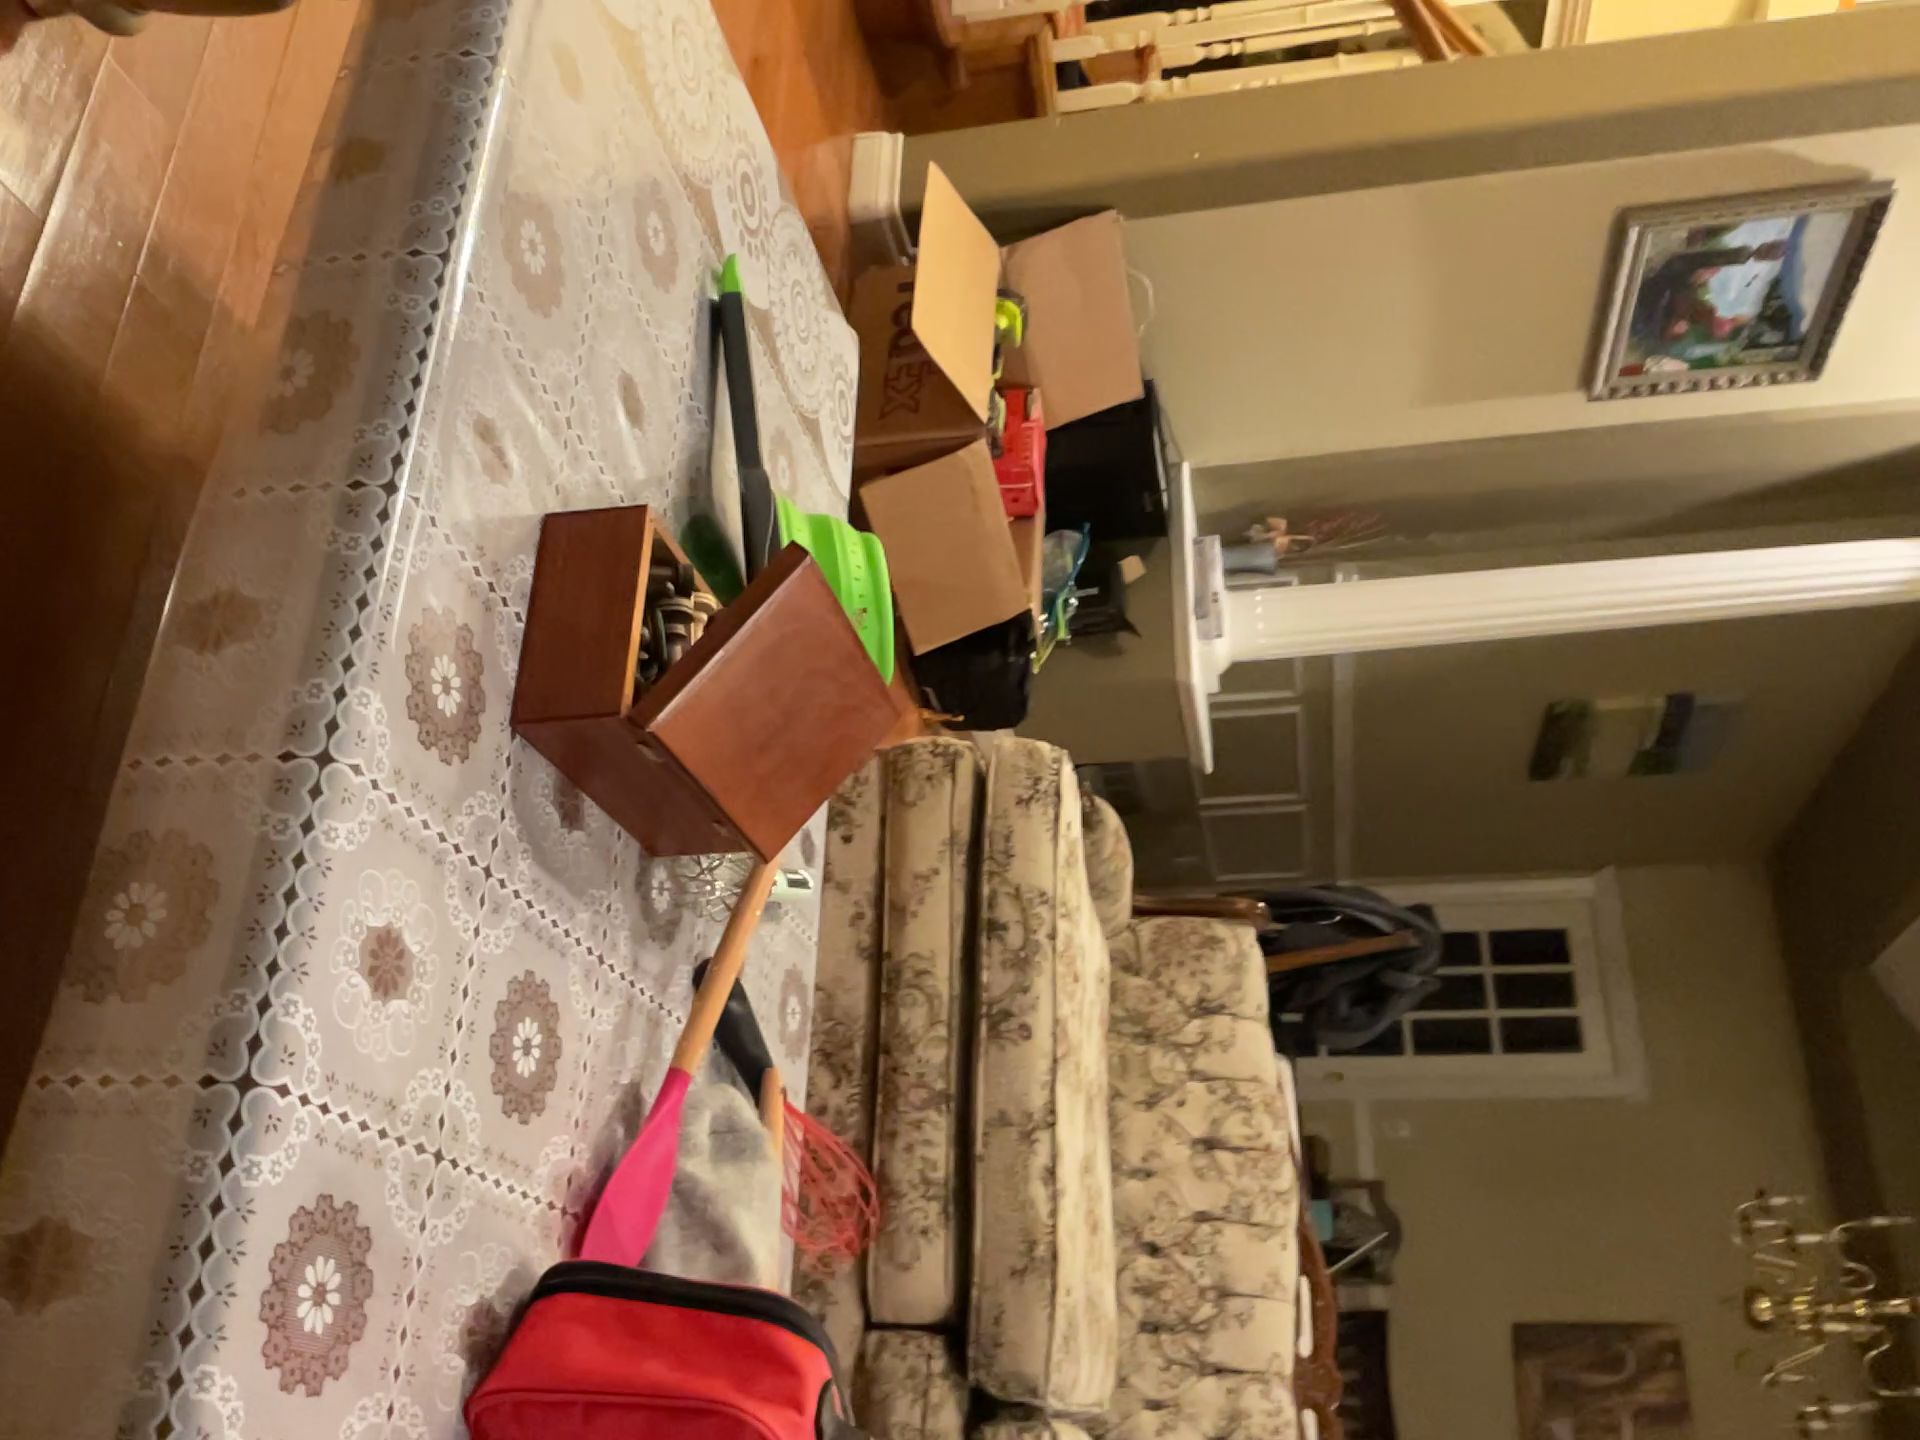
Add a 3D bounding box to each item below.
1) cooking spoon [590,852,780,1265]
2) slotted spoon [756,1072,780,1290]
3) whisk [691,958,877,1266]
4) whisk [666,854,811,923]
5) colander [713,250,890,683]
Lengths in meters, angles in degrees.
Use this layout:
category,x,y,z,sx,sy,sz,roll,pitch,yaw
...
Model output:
category,x,y,z,sx,sy,sz,roll,pitch,yaw
cooking spoon,-0.154,0.185,0.928,0.068,0.017,0.319,74,28,-50
slotted spoon,-0.128,0.389,1.036,0.070,0.031,0.314,32,58,-75
whisk,-0.122,0.274,1.096,0.073,0.073,0.295,-69,146,-50
whisk,-0.145,0.112,1.090,0.058,0.059,0.246,-52,168,1
colander,-0.110,-0.149,1.103,0.204,0.094,0.397,112,-28,-71
